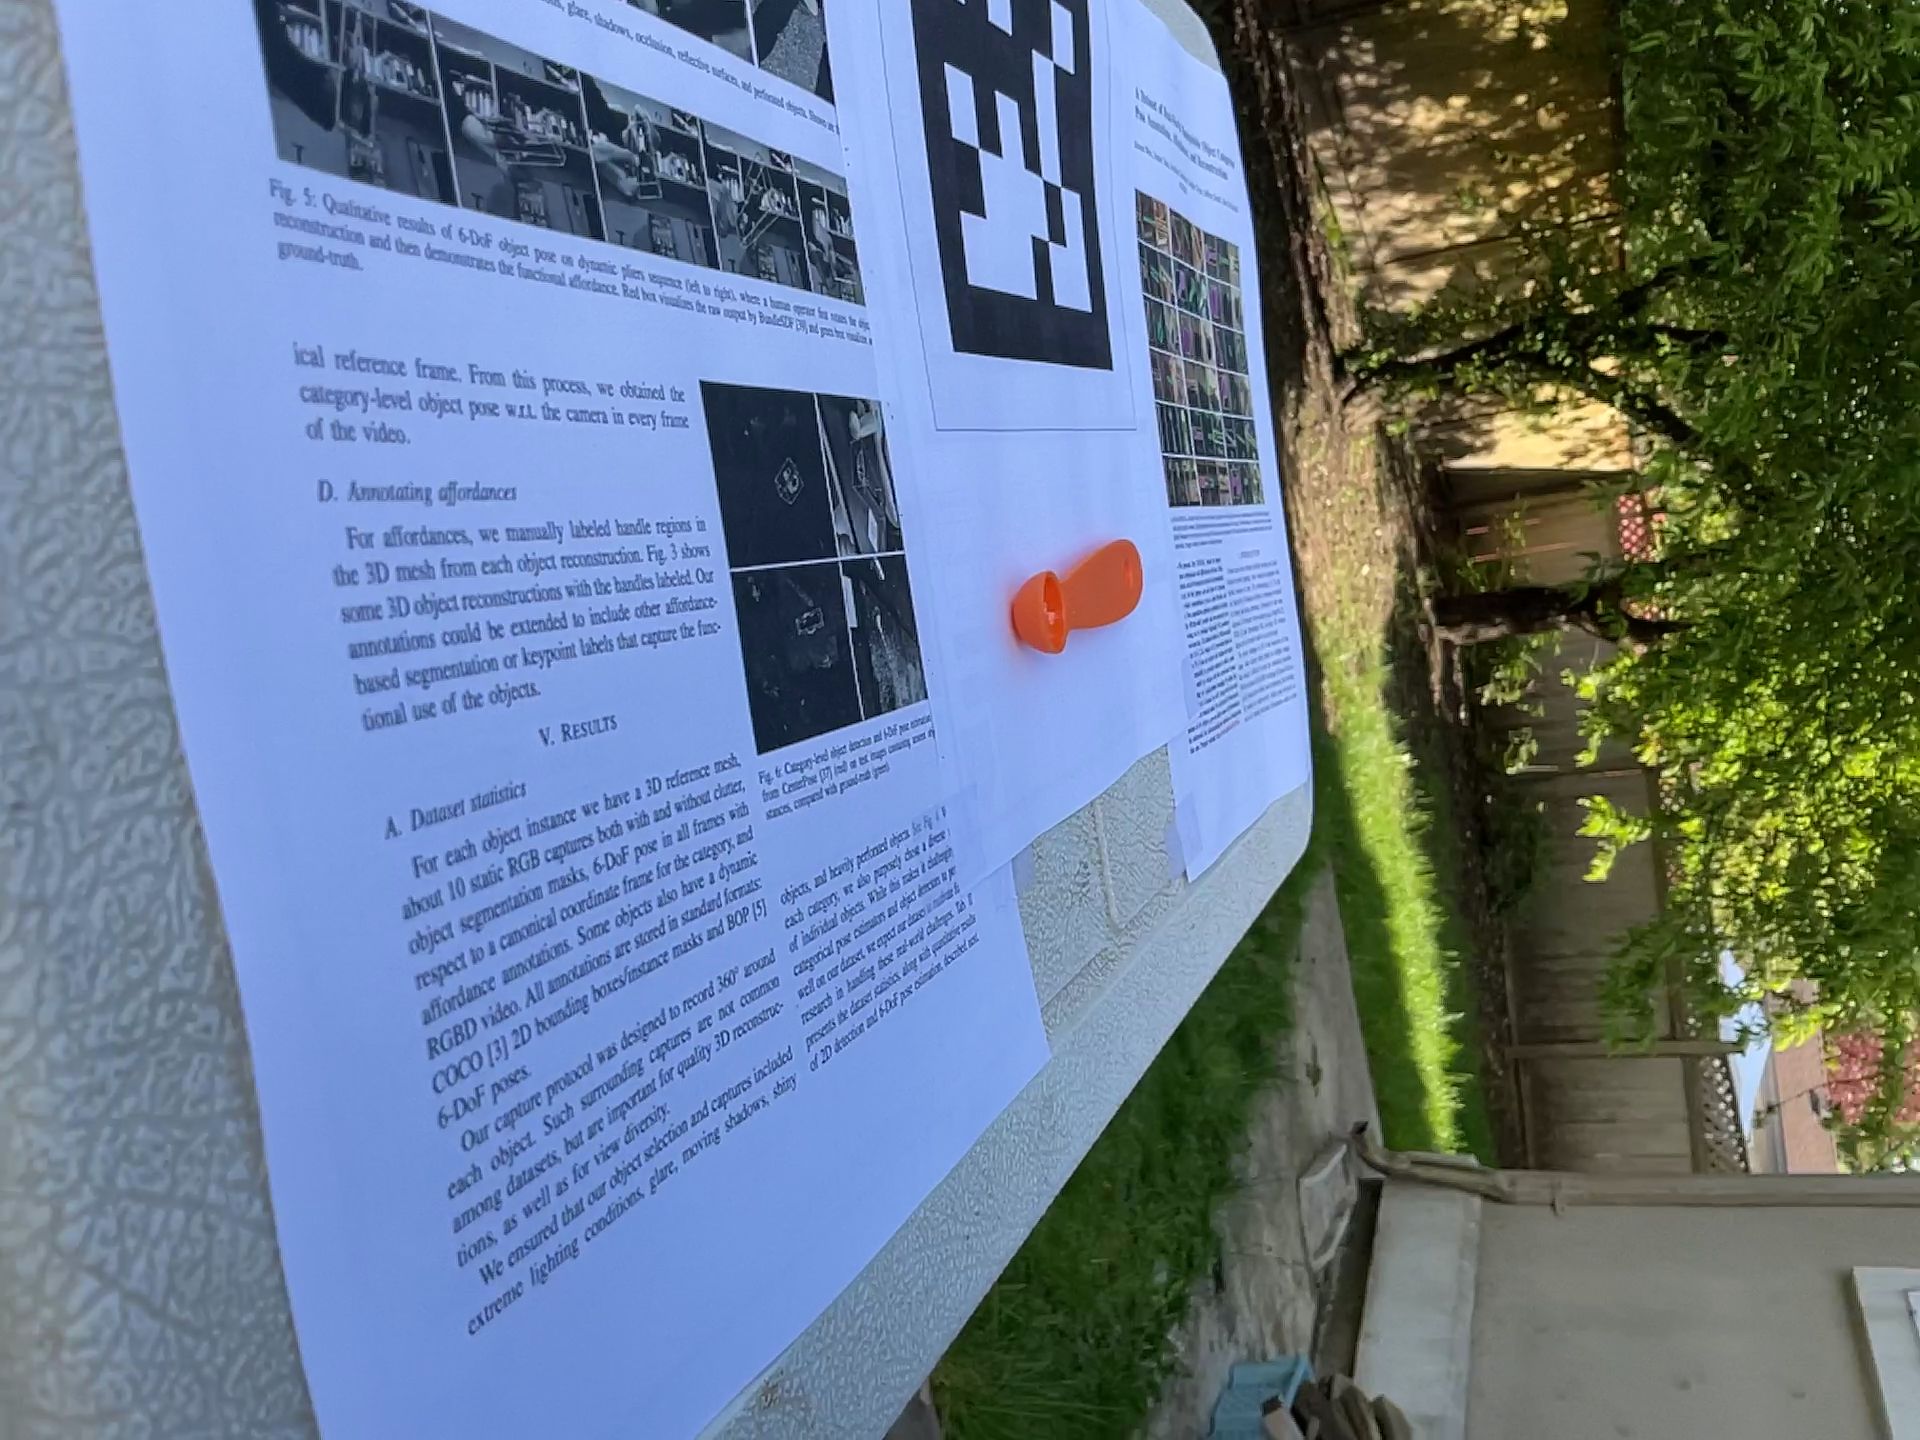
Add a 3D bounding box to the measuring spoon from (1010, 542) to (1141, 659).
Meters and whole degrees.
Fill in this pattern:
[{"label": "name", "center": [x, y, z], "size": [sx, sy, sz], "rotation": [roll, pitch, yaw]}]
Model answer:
[{"label": "measuring spoon", "center": [0.031, -0.032, 0.413], "size": [0.117, 0.011, 0.021], "rotation": [-32, 115, -70]}]
